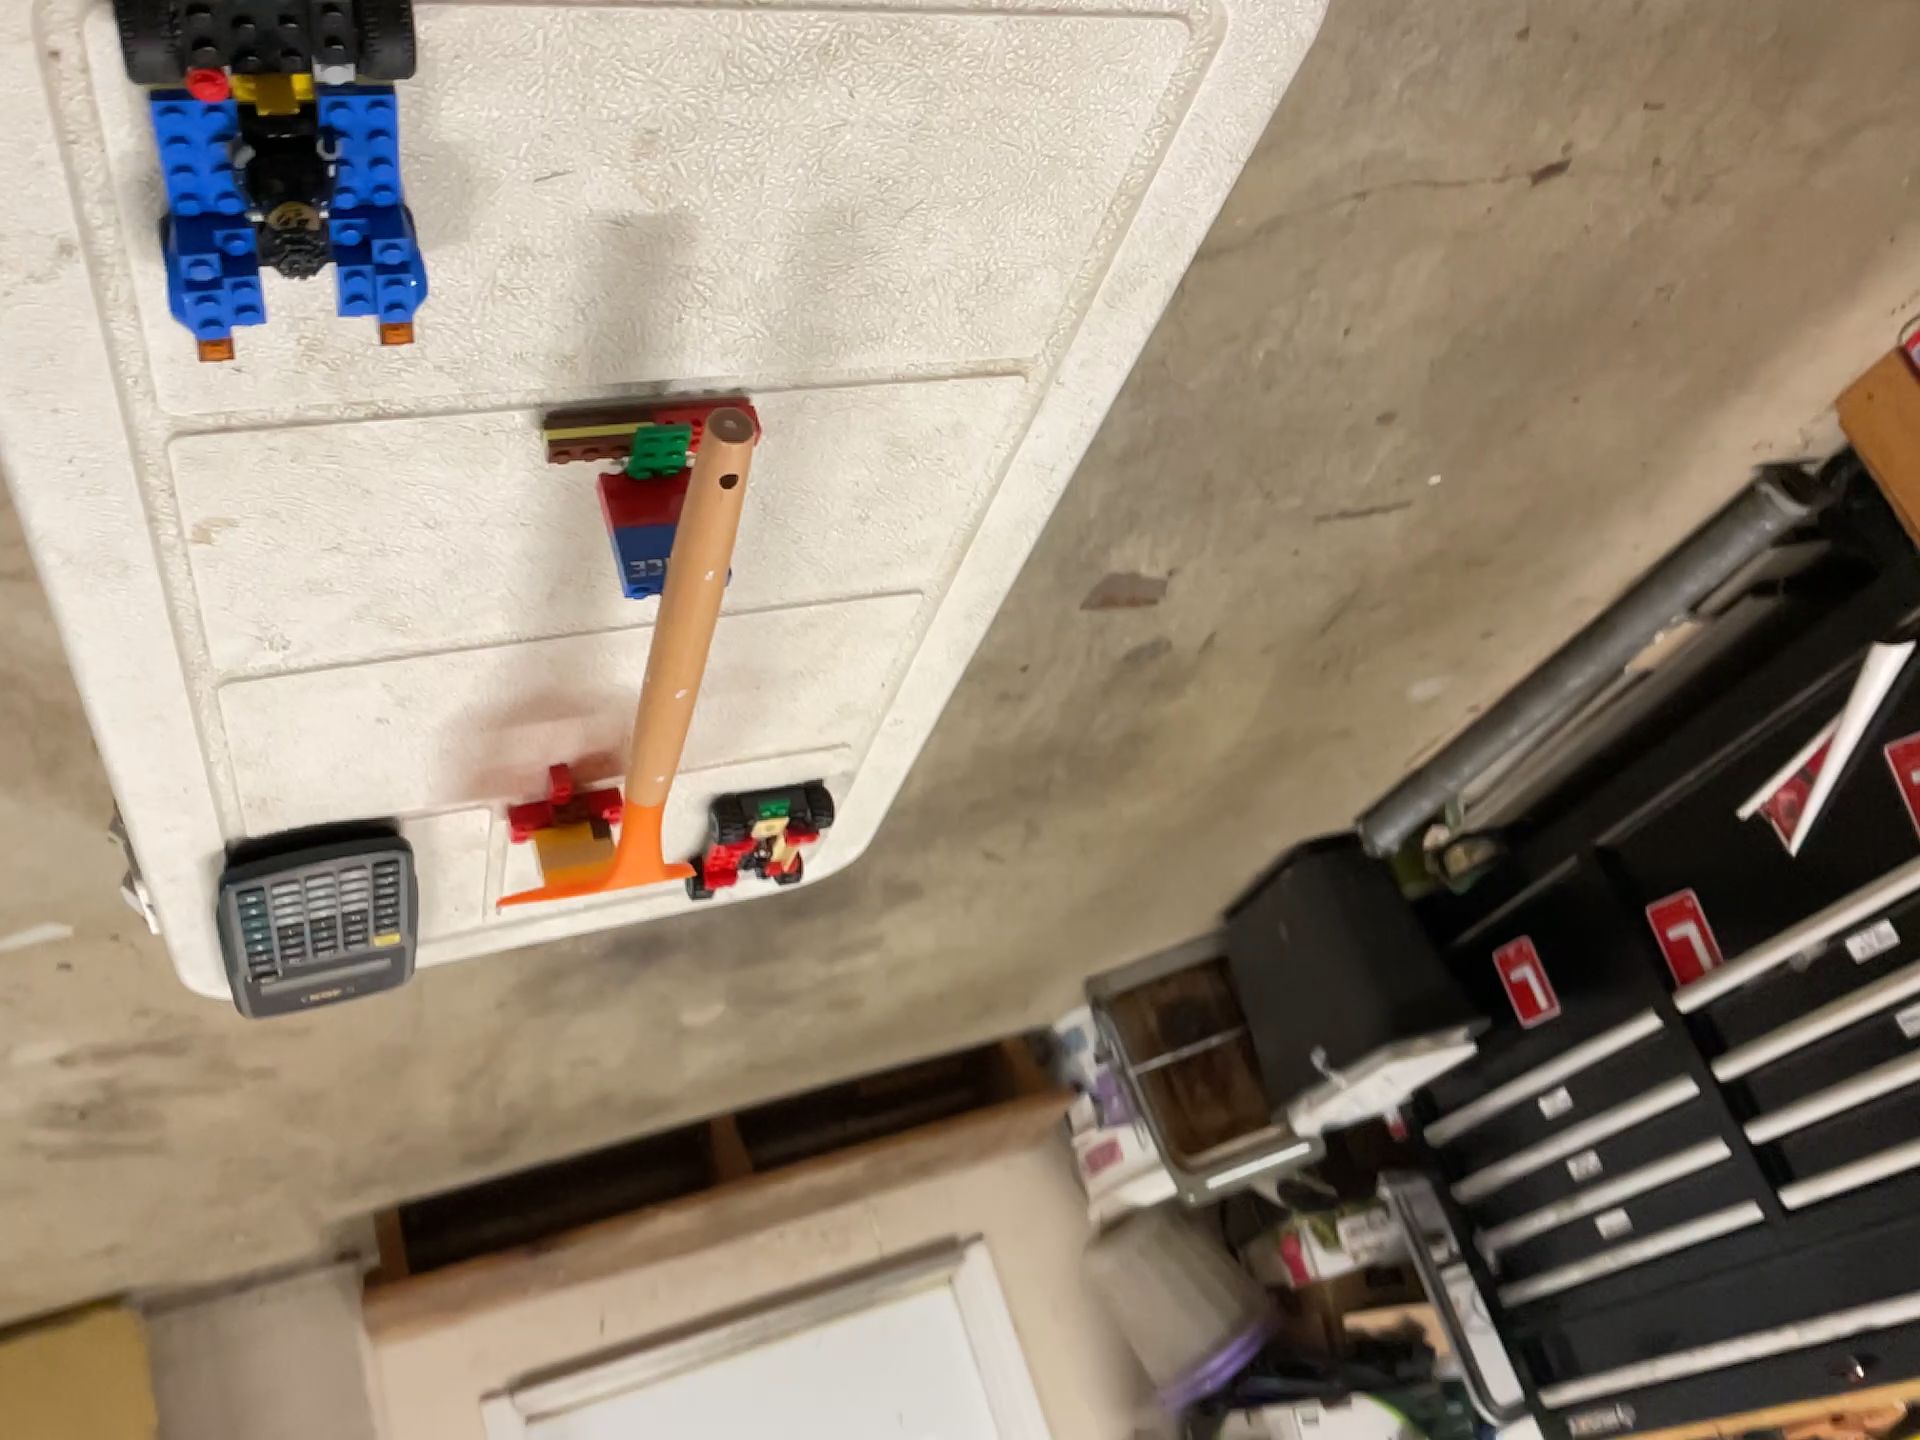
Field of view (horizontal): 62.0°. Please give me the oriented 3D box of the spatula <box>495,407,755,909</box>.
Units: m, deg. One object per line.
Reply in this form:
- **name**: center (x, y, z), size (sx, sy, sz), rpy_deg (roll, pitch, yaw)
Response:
- **spatula**: center (-0.106, 0.003, 0.540), size (0.081, 0.041, 0.322), rpy_deg (-8, 151, -24)
